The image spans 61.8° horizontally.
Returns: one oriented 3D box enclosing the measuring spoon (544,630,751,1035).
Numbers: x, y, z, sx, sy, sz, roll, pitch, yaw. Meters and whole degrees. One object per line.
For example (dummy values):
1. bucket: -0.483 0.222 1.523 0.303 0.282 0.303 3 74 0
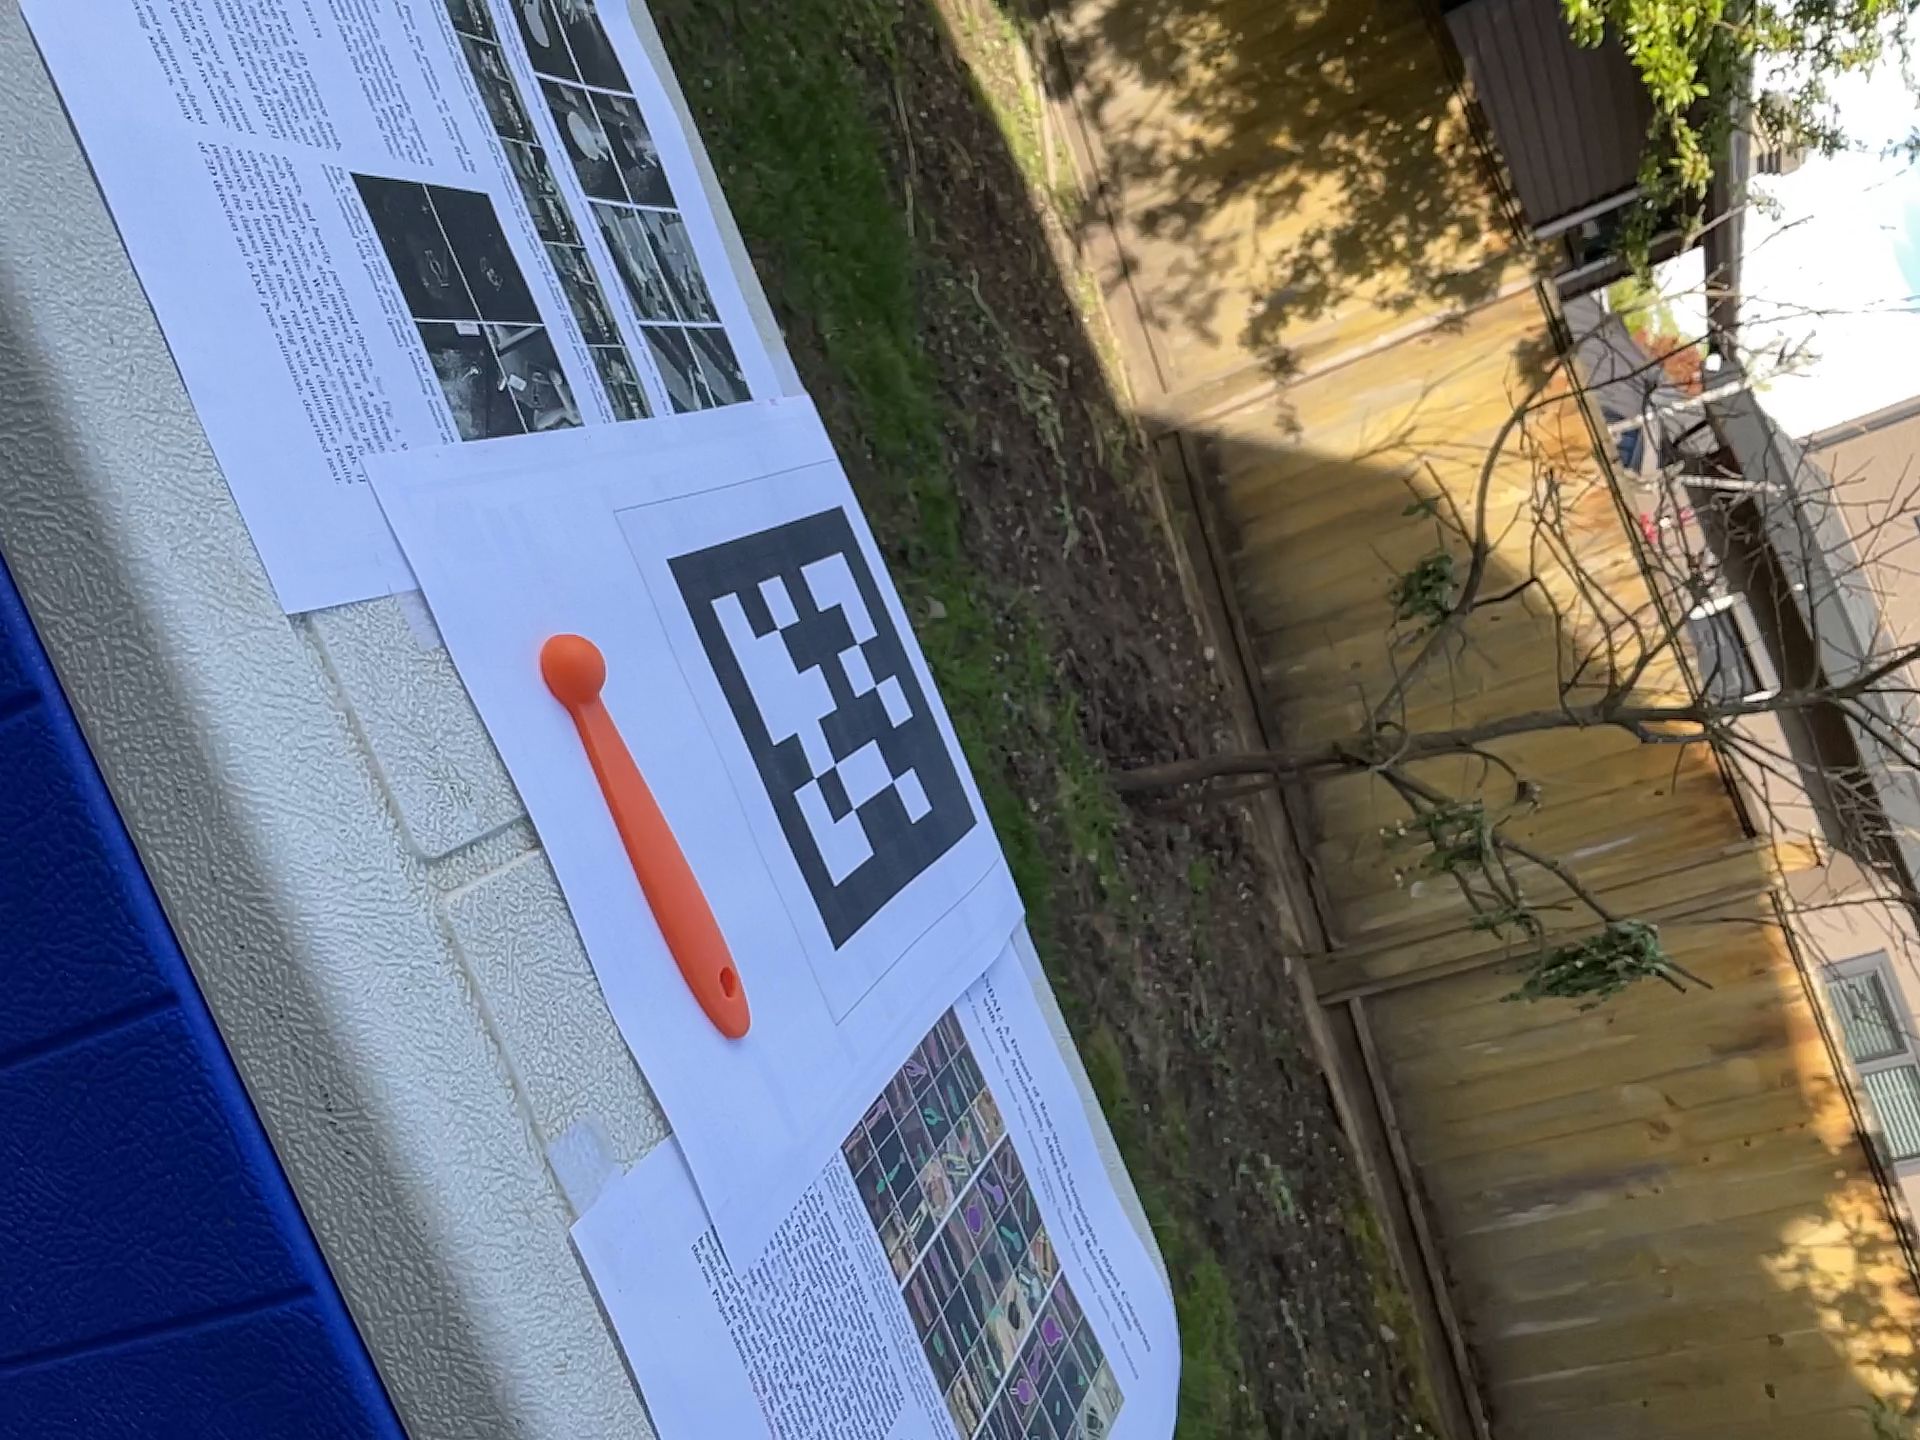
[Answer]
1. measuring spoon: -0.078 0.030 0.420 0.117 0.011 0.021 67 27 -9
